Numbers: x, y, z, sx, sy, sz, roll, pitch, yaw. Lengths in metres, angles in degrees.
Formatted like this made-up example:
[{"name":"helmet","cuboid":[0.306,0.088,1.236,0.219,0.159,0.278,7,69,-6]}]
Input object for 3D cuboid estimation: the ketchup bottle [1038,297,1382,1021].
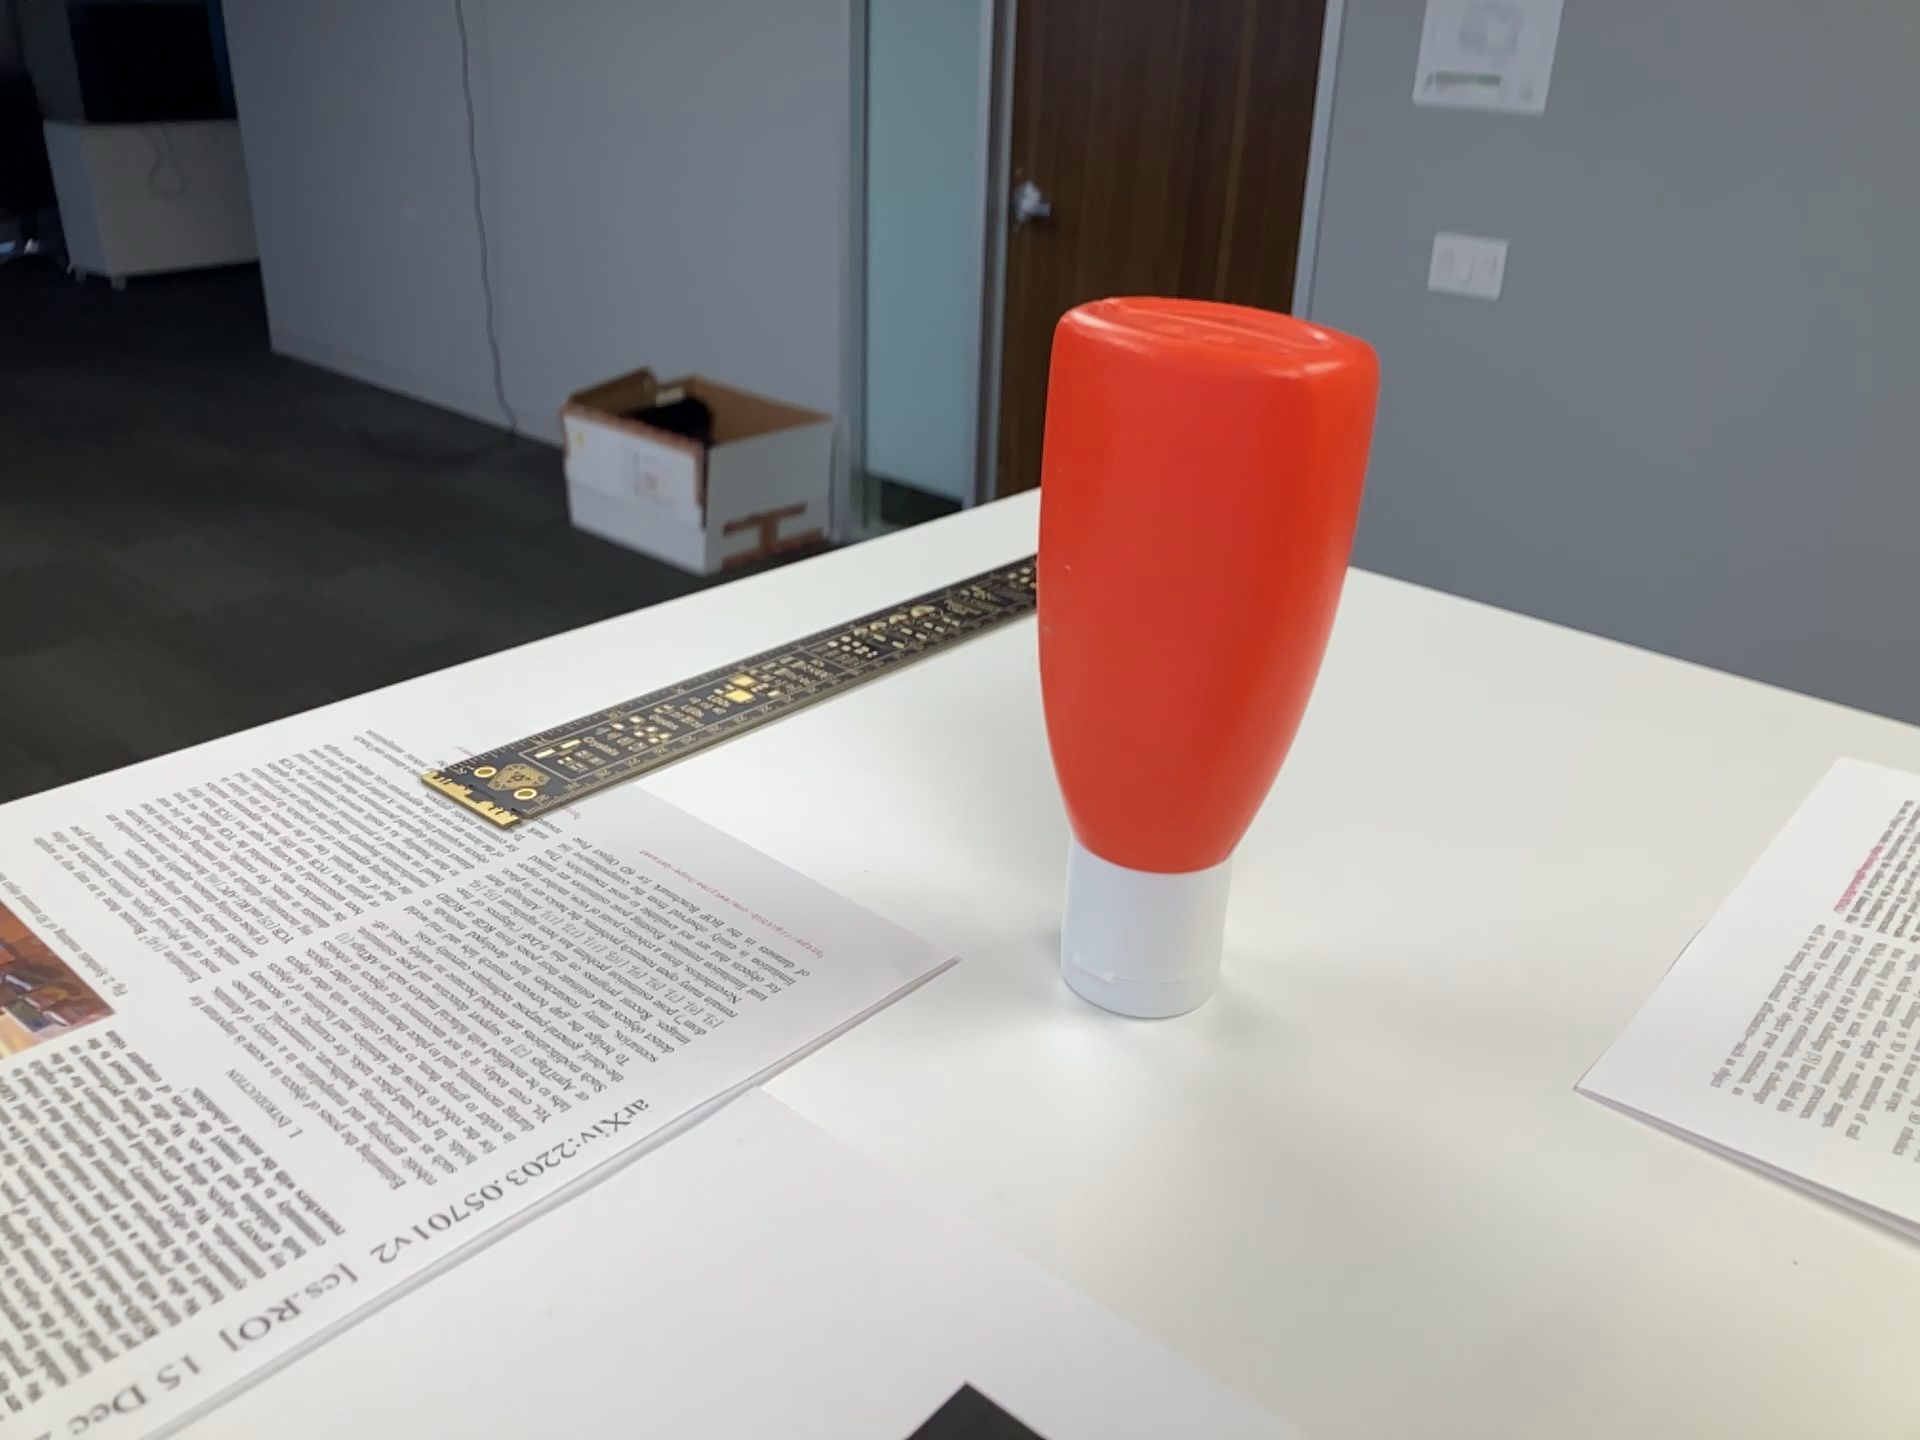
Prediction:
[{"name":"ketchup bottle","cuboid":[0.044,-0.008,0.330,0.065,0.149,0.043,23,31,36]}]
